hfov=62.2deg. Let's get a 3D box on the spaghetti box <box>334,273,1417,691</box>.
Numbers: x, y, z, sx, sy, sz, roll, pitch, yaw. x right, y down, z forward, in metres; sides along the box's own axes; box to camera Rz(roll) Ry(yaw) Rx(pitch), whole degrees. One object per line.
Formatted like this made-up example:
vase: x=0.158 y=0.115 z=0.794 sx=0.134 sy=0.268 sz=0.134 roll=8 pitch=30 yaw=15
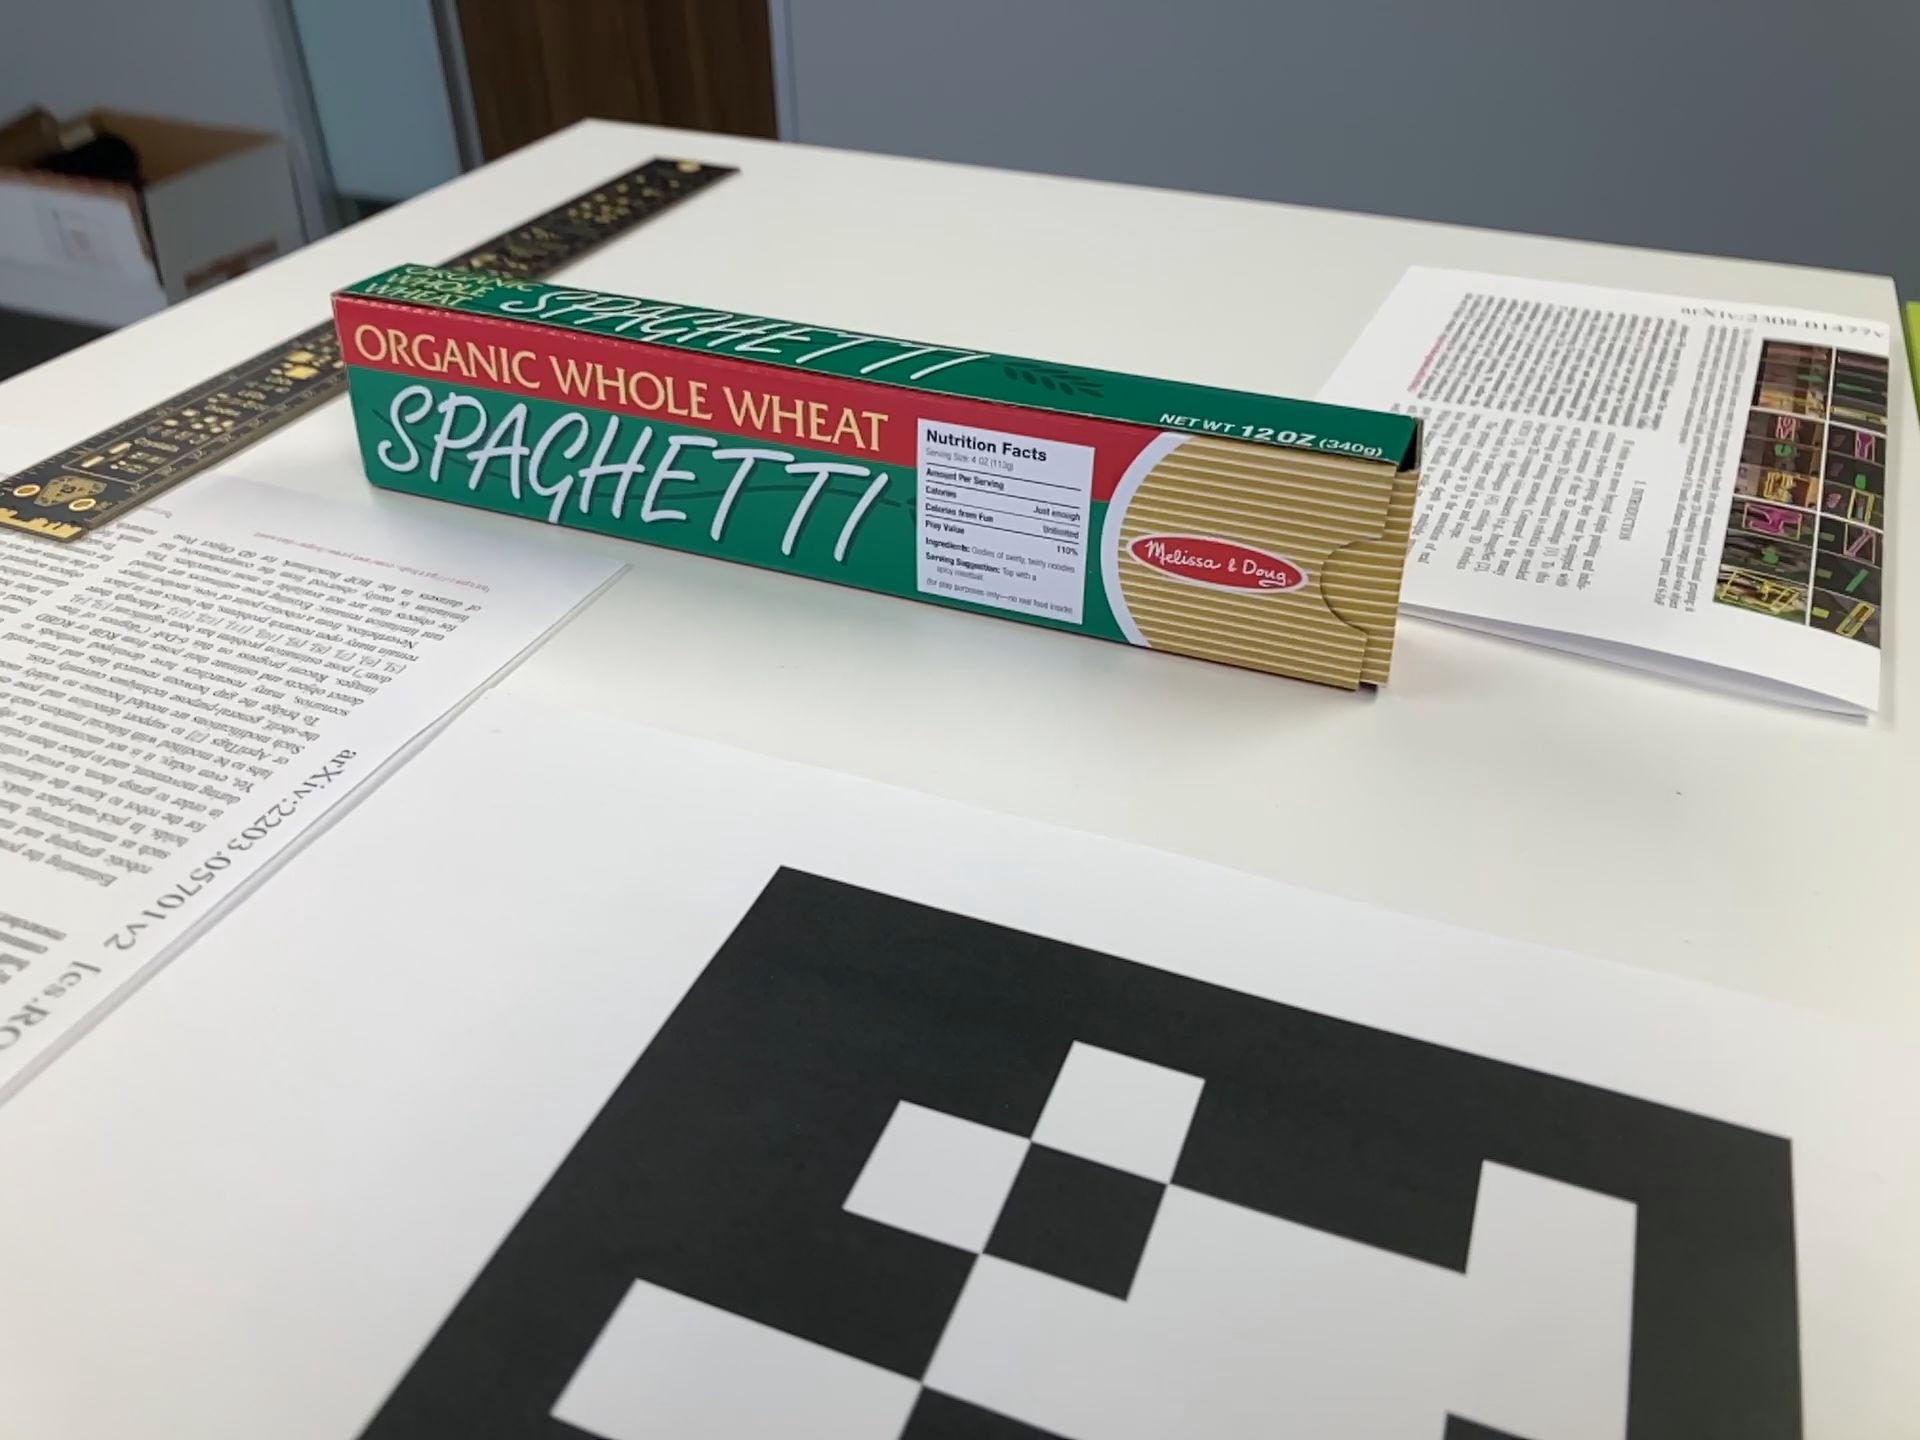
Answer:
spaghetti box: x=-0.029 y=-0.058 z=0.355 sx=0.250 sy=0.050 sz=0.028 roll=13 pitch=33 yaw=18
